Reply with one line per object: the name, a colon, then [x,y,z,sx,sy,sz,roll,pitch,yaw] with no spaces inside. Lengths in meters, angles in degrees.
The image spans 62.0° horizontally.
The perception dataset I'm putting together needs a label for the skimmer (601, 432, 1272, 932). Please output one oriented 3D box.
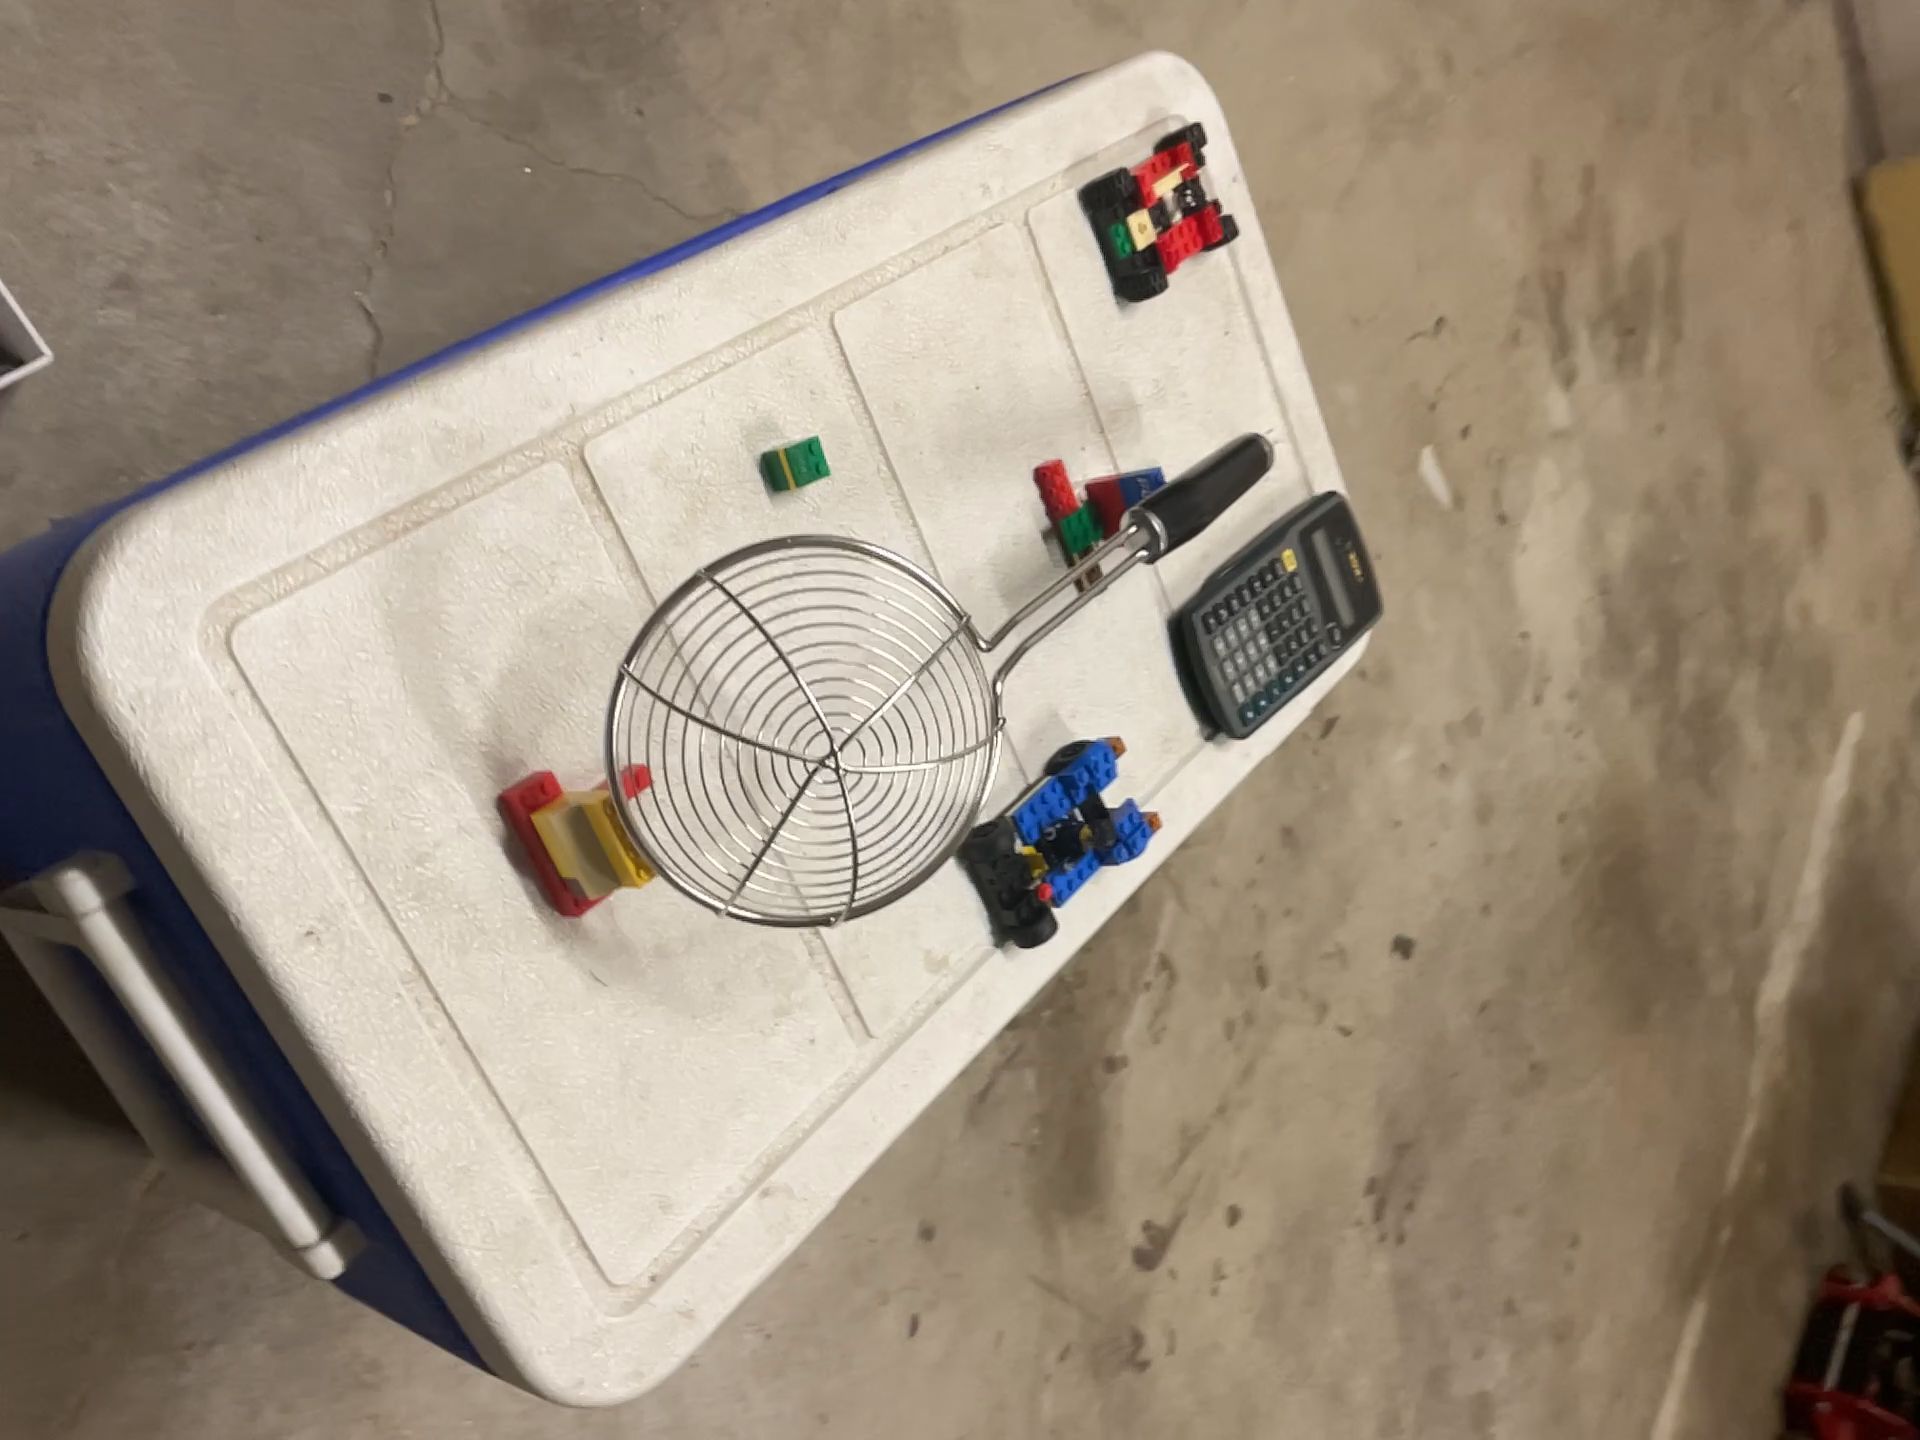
skimmer: [0.018,-0.047,0.606,0.364,0.090,0.127,-39,114,-51]
